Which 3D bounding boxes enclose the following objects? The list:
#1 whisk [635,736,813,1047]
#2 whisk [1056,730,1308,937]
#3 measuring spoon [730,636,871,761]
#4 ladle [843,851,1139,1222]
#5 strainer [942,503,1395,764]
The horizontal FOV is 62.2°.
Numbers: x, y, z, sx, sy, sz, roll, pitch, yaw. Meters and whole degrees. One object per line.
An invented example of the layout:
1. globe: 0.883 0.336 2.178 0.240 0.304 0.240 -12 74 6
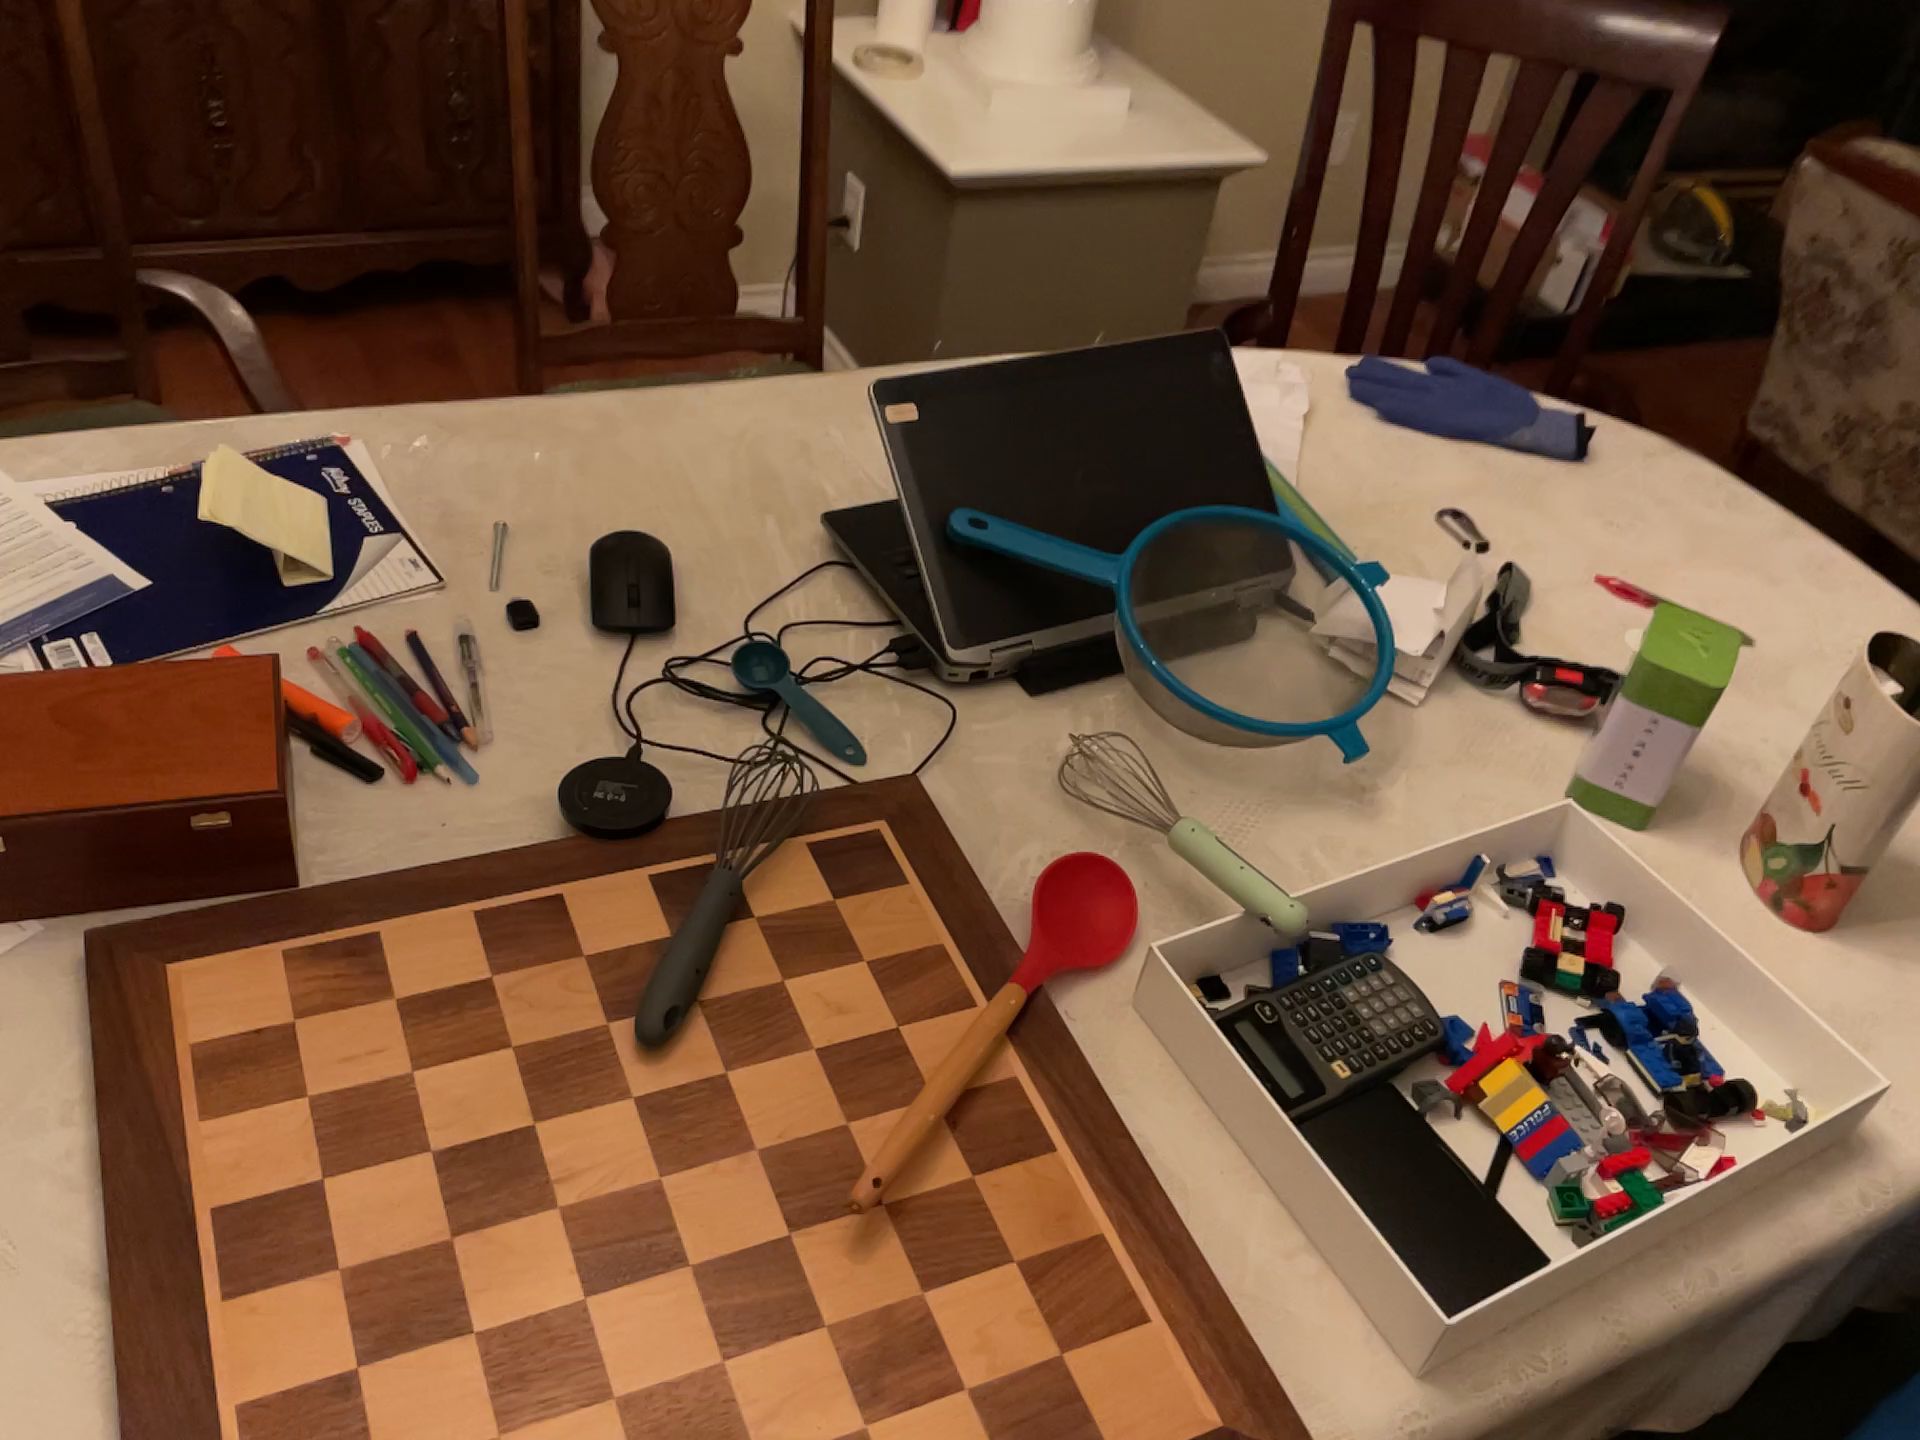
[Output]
1. whisk: -0.140 0.096 0.937 0.055 0.055 0.239 5 42 15
2. whisk: 0.138 0.068 1.021 0.059 0.057 0.247 -39 40 -9
3. measuring spoon: -0.111 -0.010 1.112 0.129 0.021 0.042 41 55 15
4. ladle: 0.020 0.170 0.893 0.069 0.031 0.315 43 40 3
5. strainer: 0.144 -0.073 1.176 0.340 0.095 0.211 18 53 0
